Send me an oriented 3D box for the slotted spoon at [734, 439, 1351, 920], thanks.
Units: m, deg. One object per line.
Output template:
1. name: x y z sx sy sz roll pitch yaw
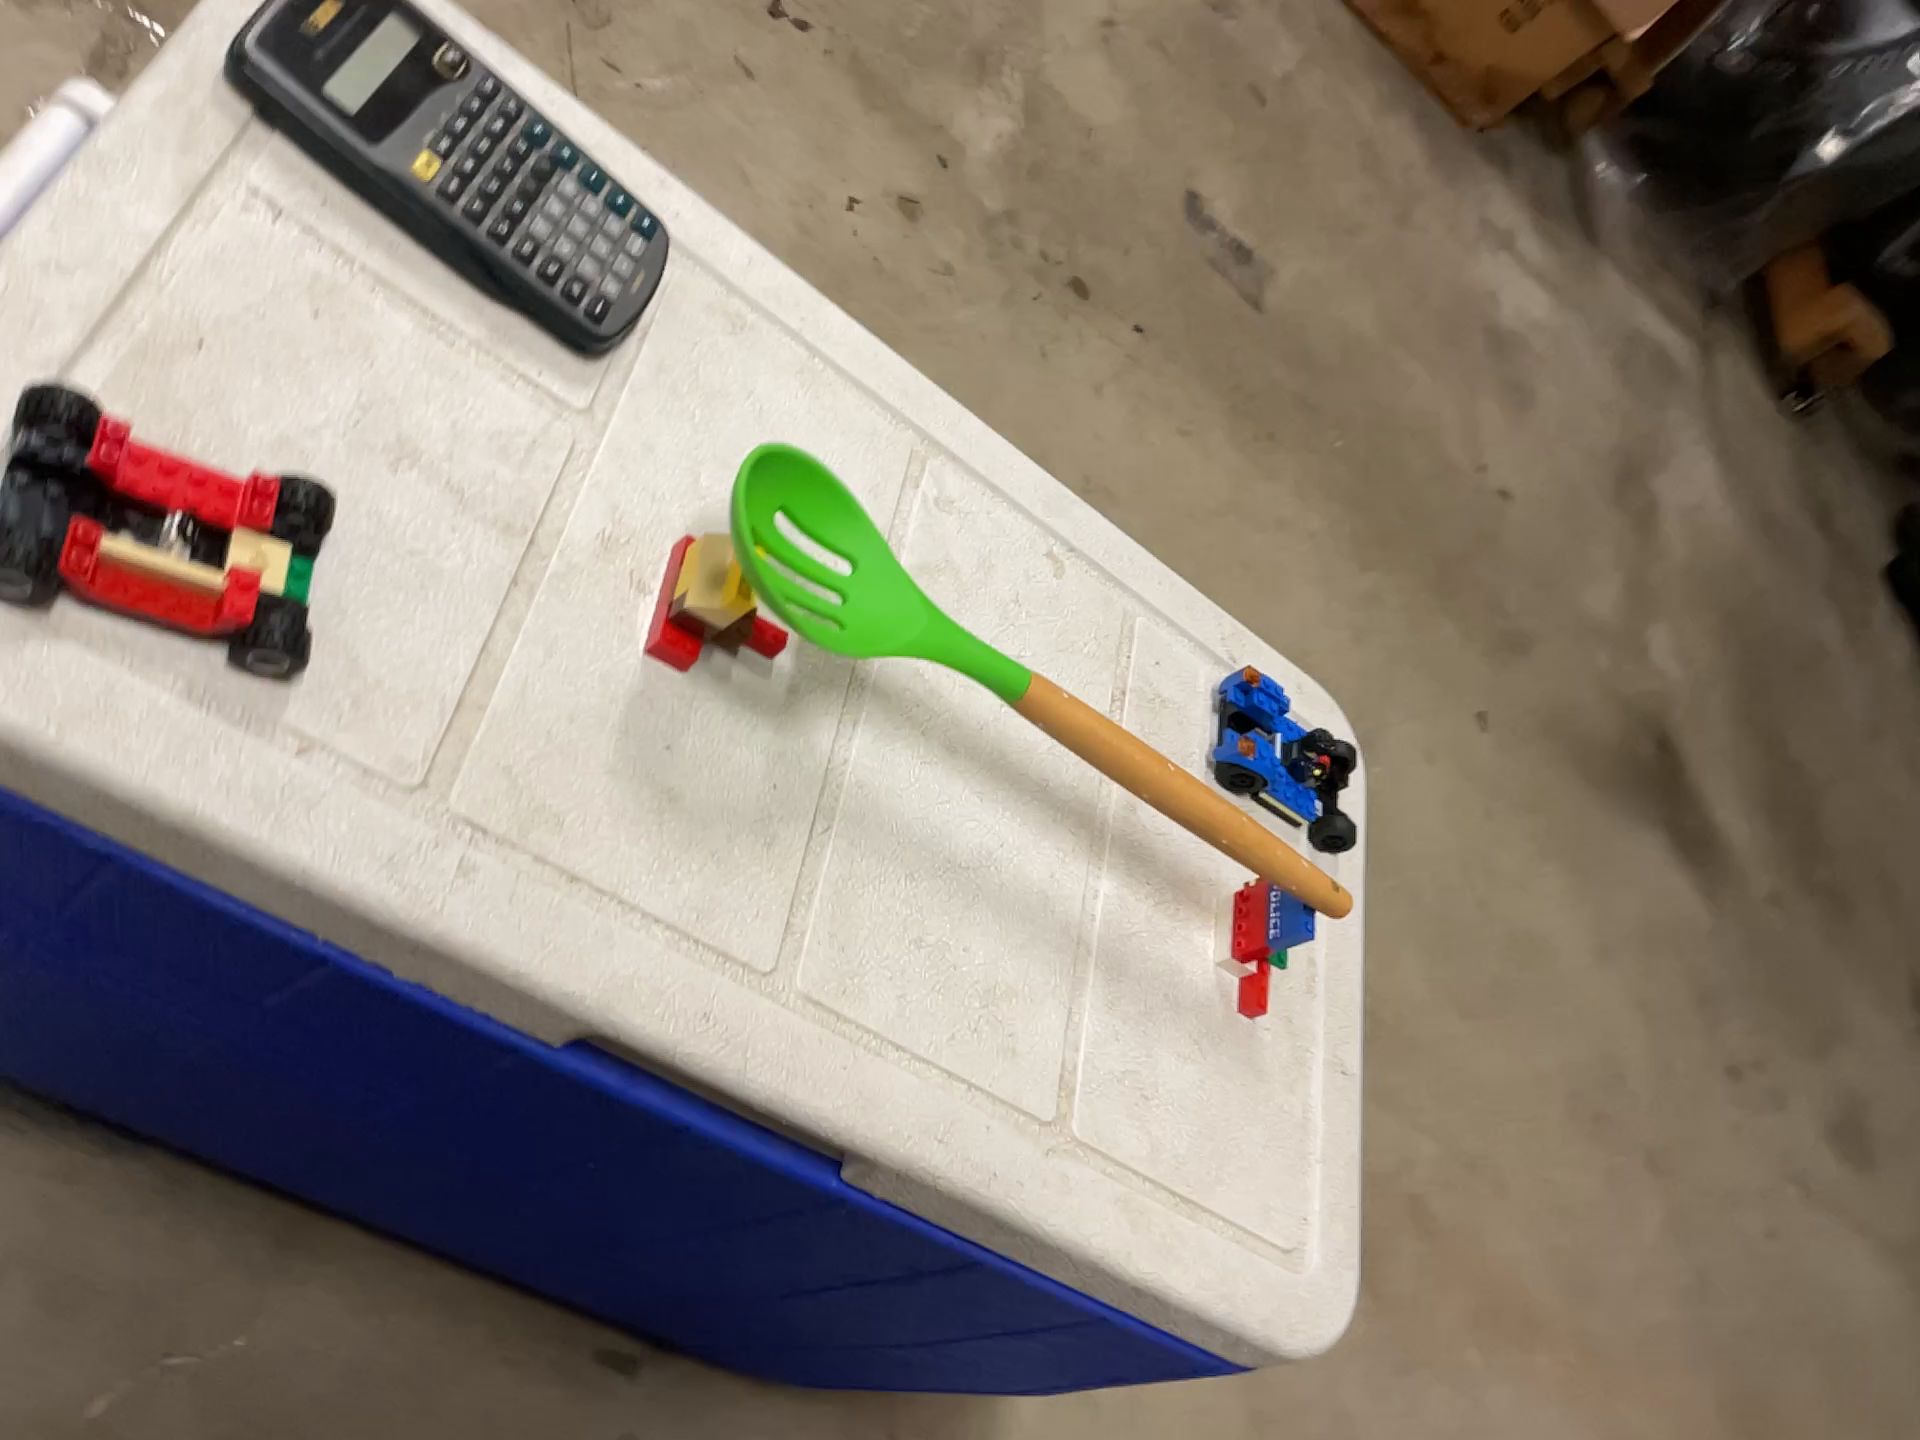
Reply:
1. slotted spoon: 0.040 0.002 0.579 0.314 0.031 0.070 33 46 -28
